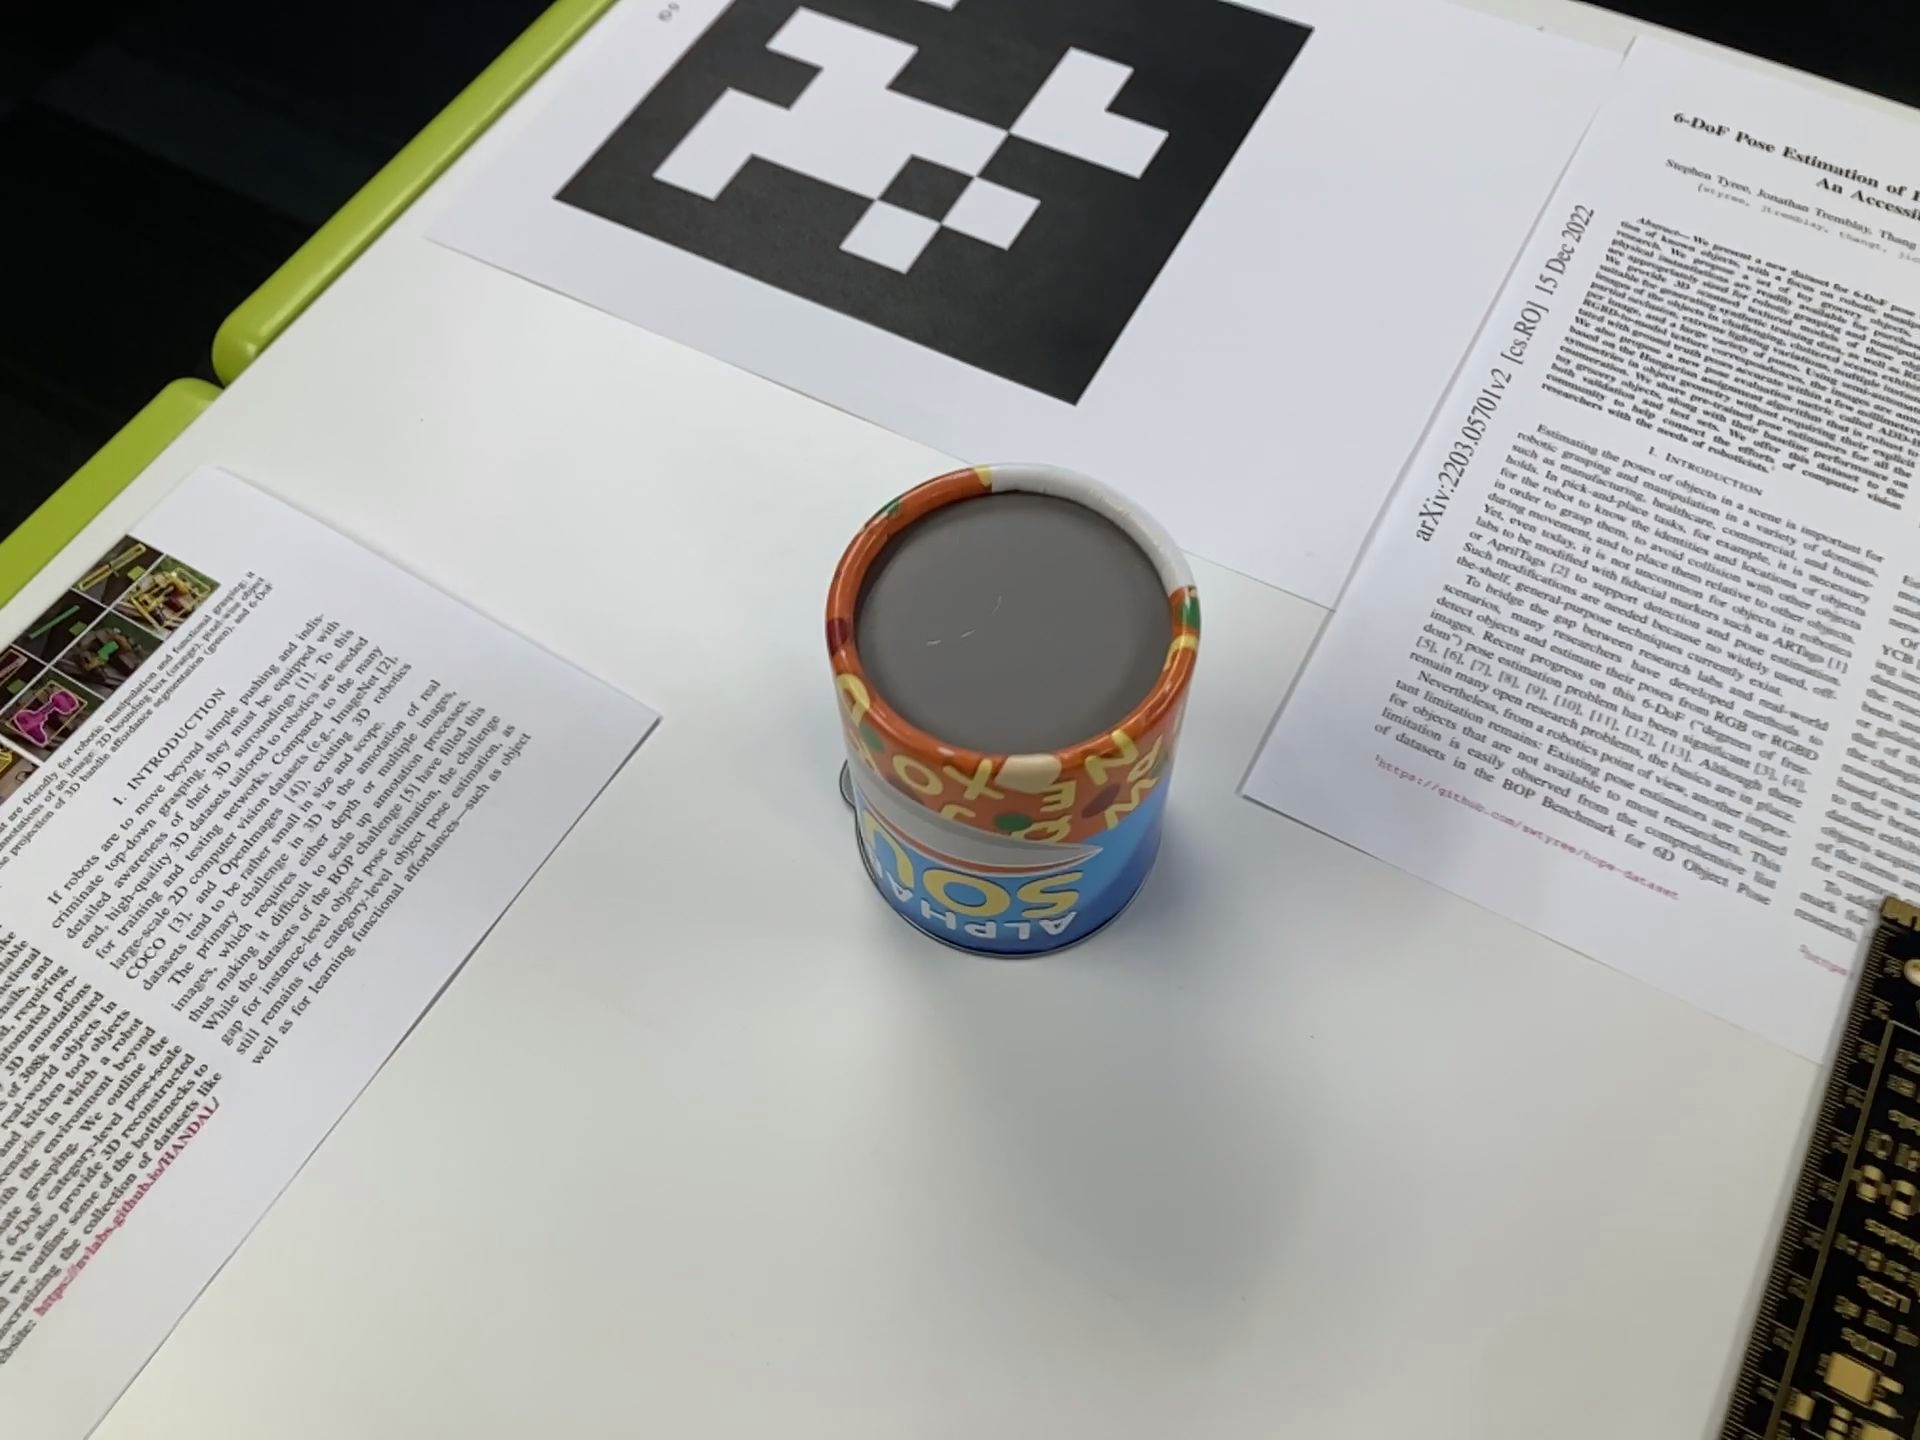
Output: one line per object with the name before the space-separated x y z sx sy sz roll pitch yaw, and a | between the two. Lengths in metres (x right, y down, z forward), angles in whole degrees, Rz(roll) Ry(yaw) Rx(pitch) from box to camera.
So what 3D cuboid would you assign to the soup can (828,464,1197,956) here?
soup can | 0.008 0.002 0.312 0.071 0.084 0.071 -1 61 2
